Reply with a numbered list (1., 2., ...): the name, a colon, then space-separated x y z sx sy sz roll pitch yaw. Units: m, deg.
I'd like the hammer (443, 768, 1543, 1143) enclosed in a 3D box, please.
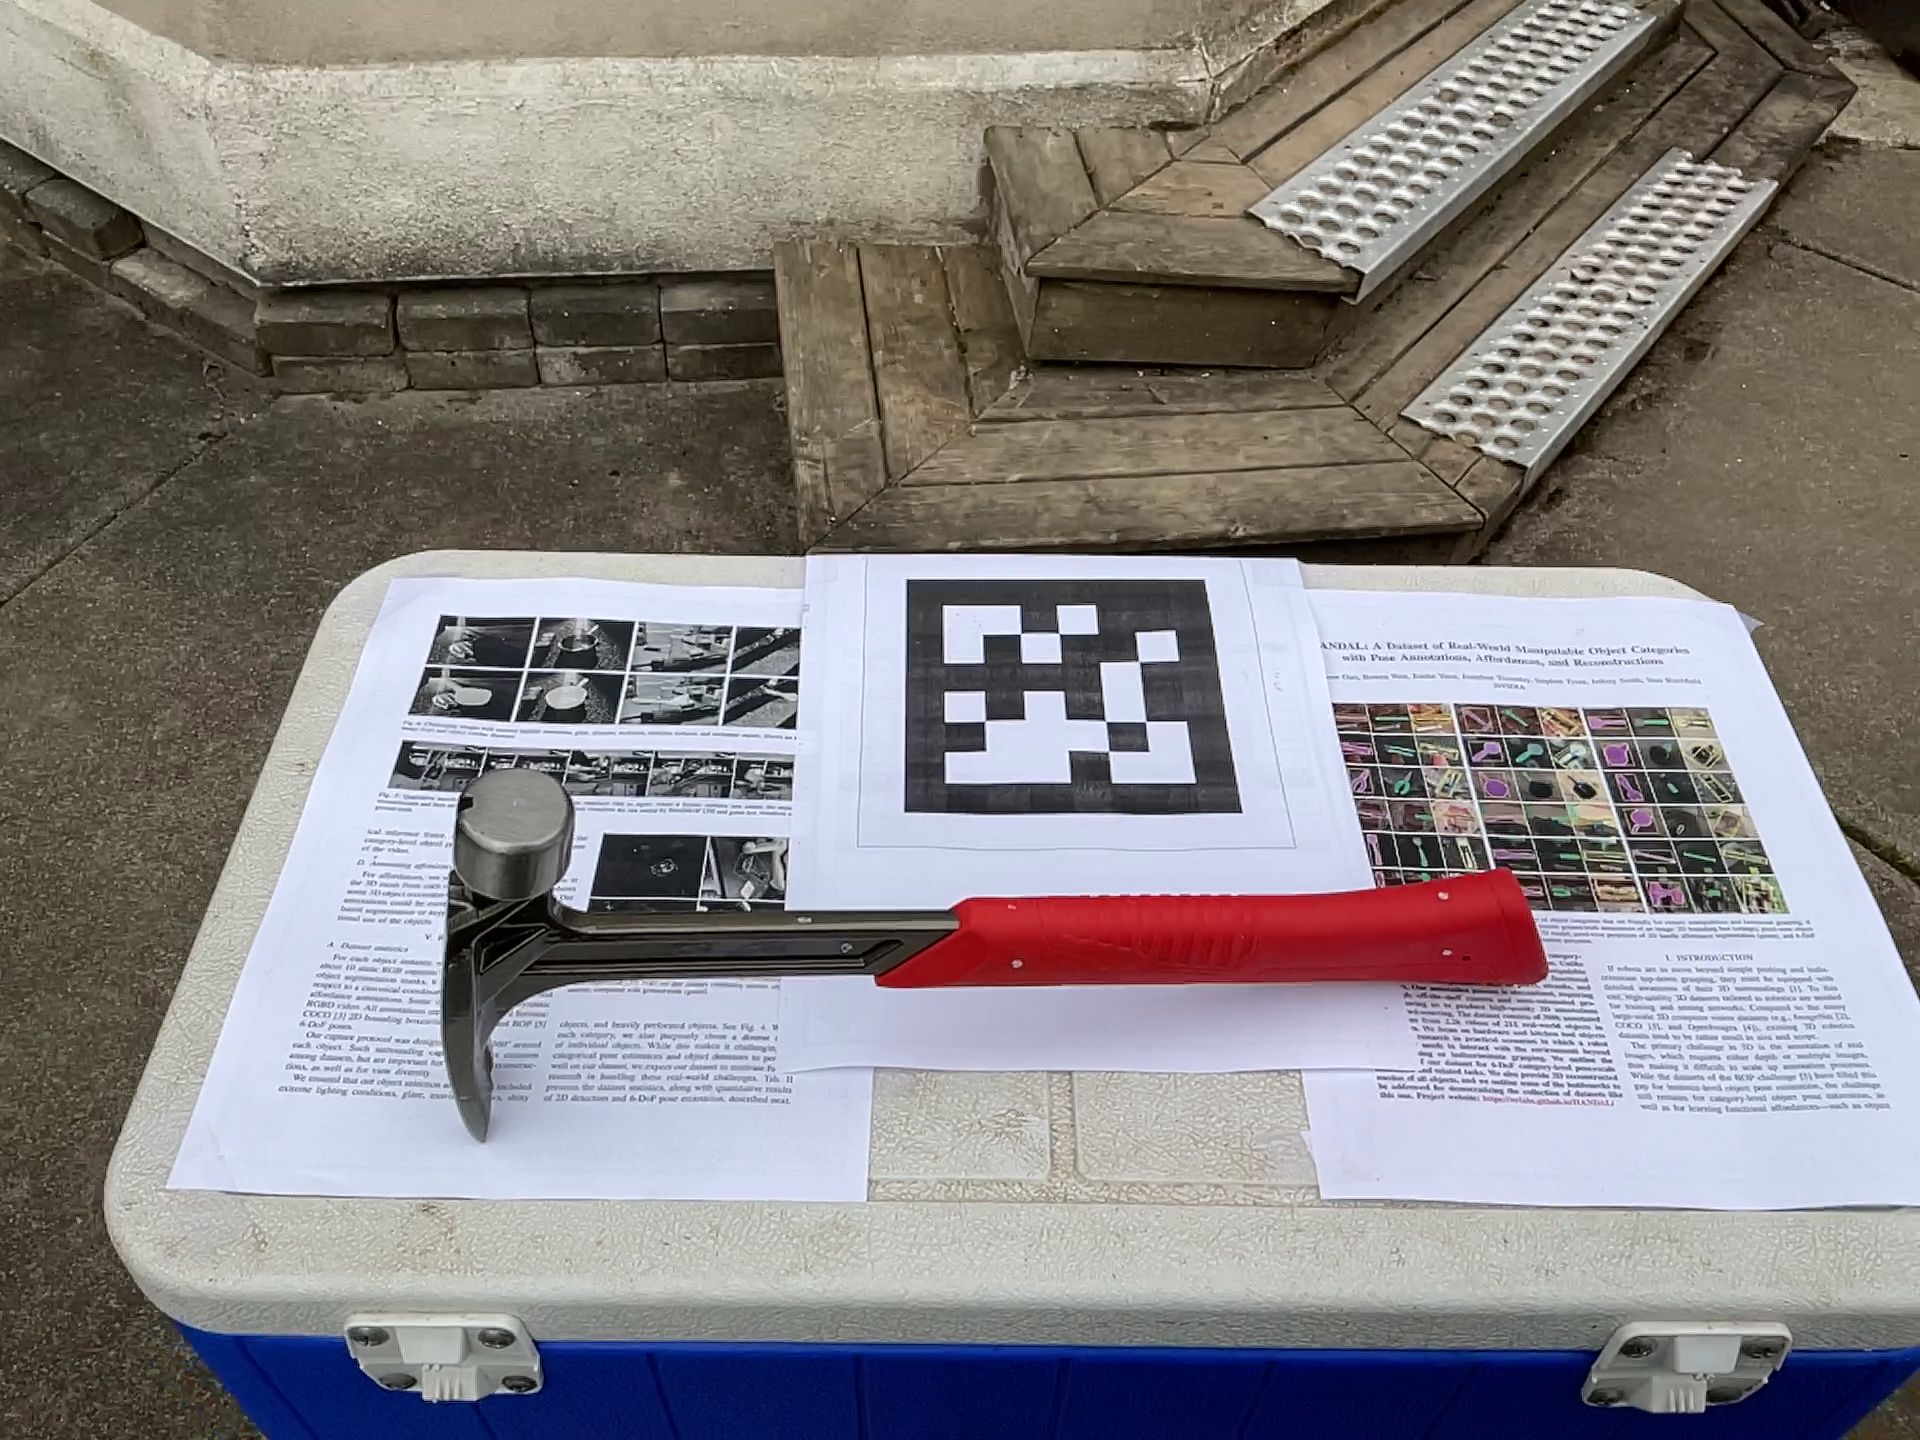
1. hammer: 0.021 0.079 0.516 0.359 0.149 0.037 2 45 -16
